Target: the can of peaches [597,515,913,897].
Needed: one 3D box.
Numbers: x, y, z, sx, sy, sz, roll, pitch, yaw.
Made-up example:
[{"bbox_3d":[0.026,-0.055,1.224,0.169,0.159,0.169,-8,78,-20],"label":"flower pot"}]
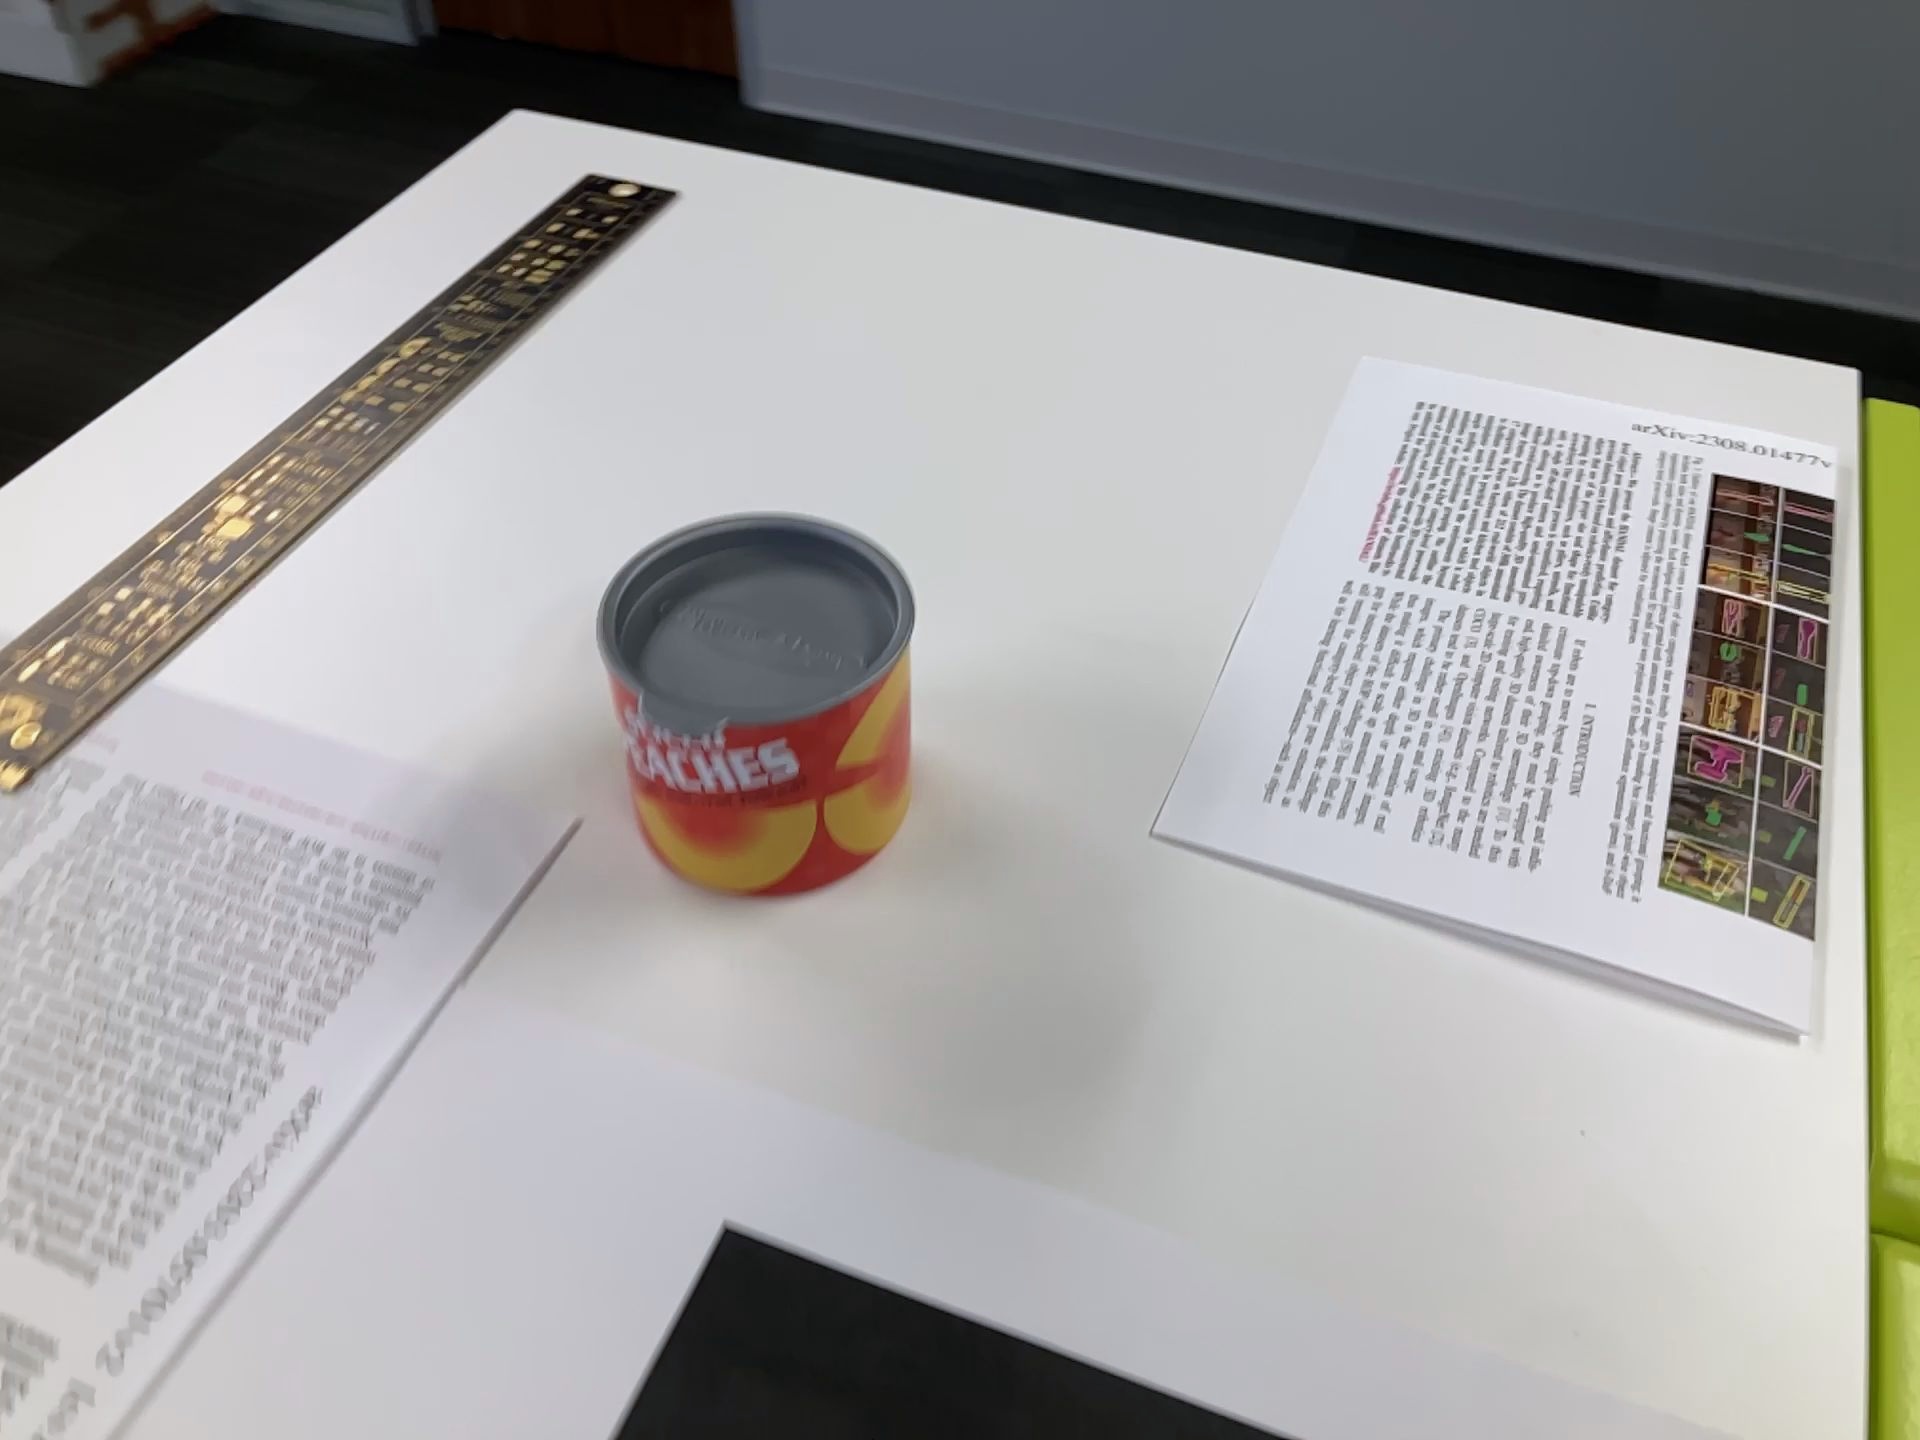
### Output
[{"bbox_3d":[-0.045,-0.002,0.353,0.071,0.058,0.071,1,46,-1],"label":"can of peaches"}]
